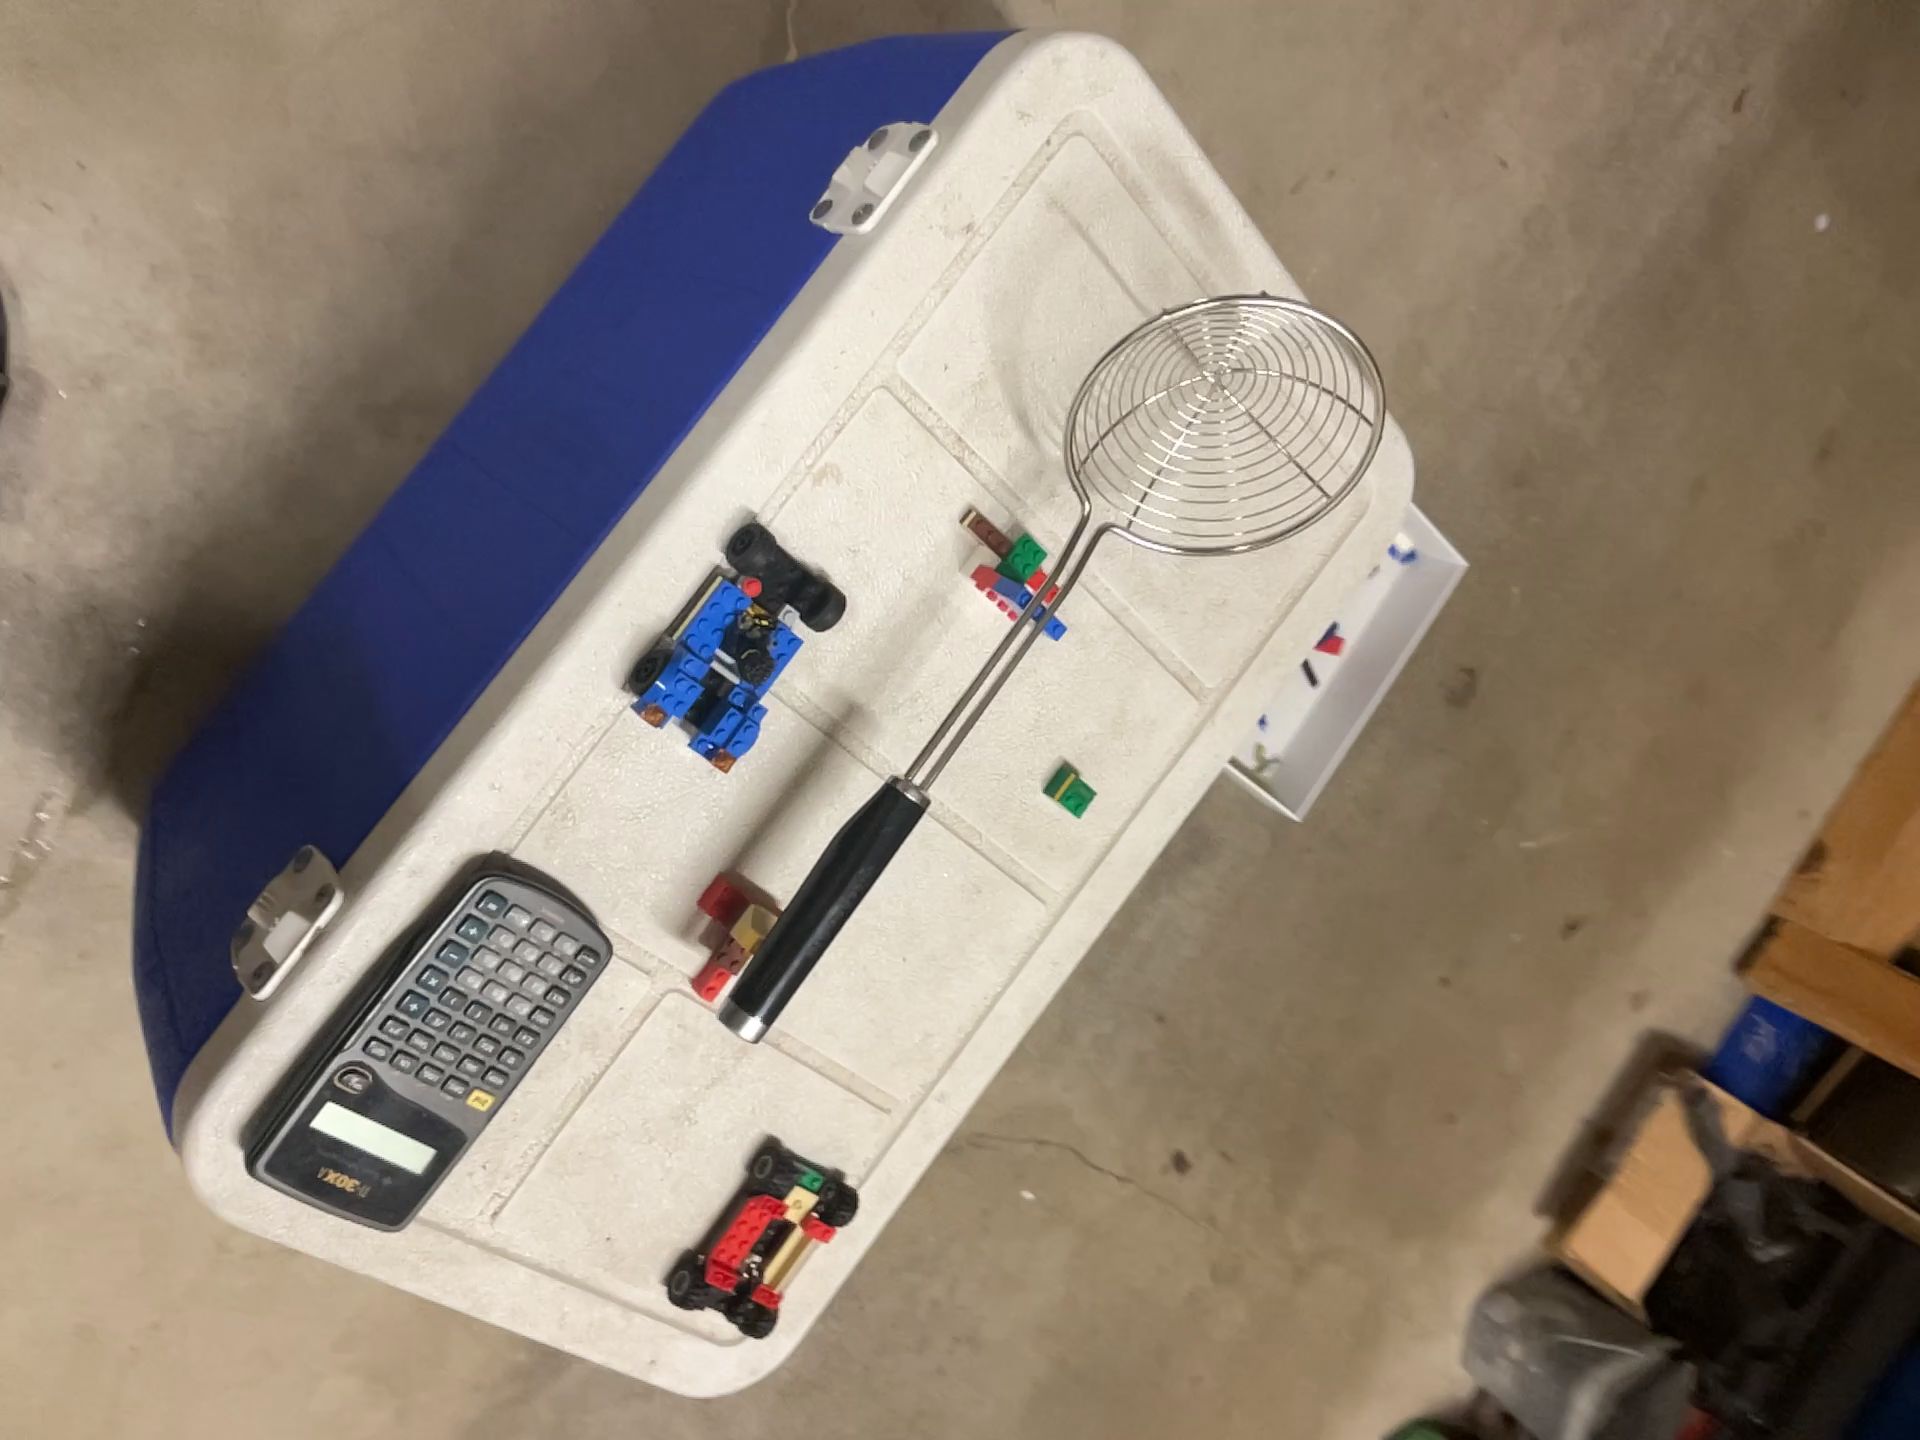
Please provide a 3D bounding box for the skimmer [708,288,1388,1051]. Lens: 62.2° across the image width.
[{"bbox_3d":[0.027,-0.011,0.629,0.127,0.090,0.363,39,85,-34],"label":"skimmer"}]
